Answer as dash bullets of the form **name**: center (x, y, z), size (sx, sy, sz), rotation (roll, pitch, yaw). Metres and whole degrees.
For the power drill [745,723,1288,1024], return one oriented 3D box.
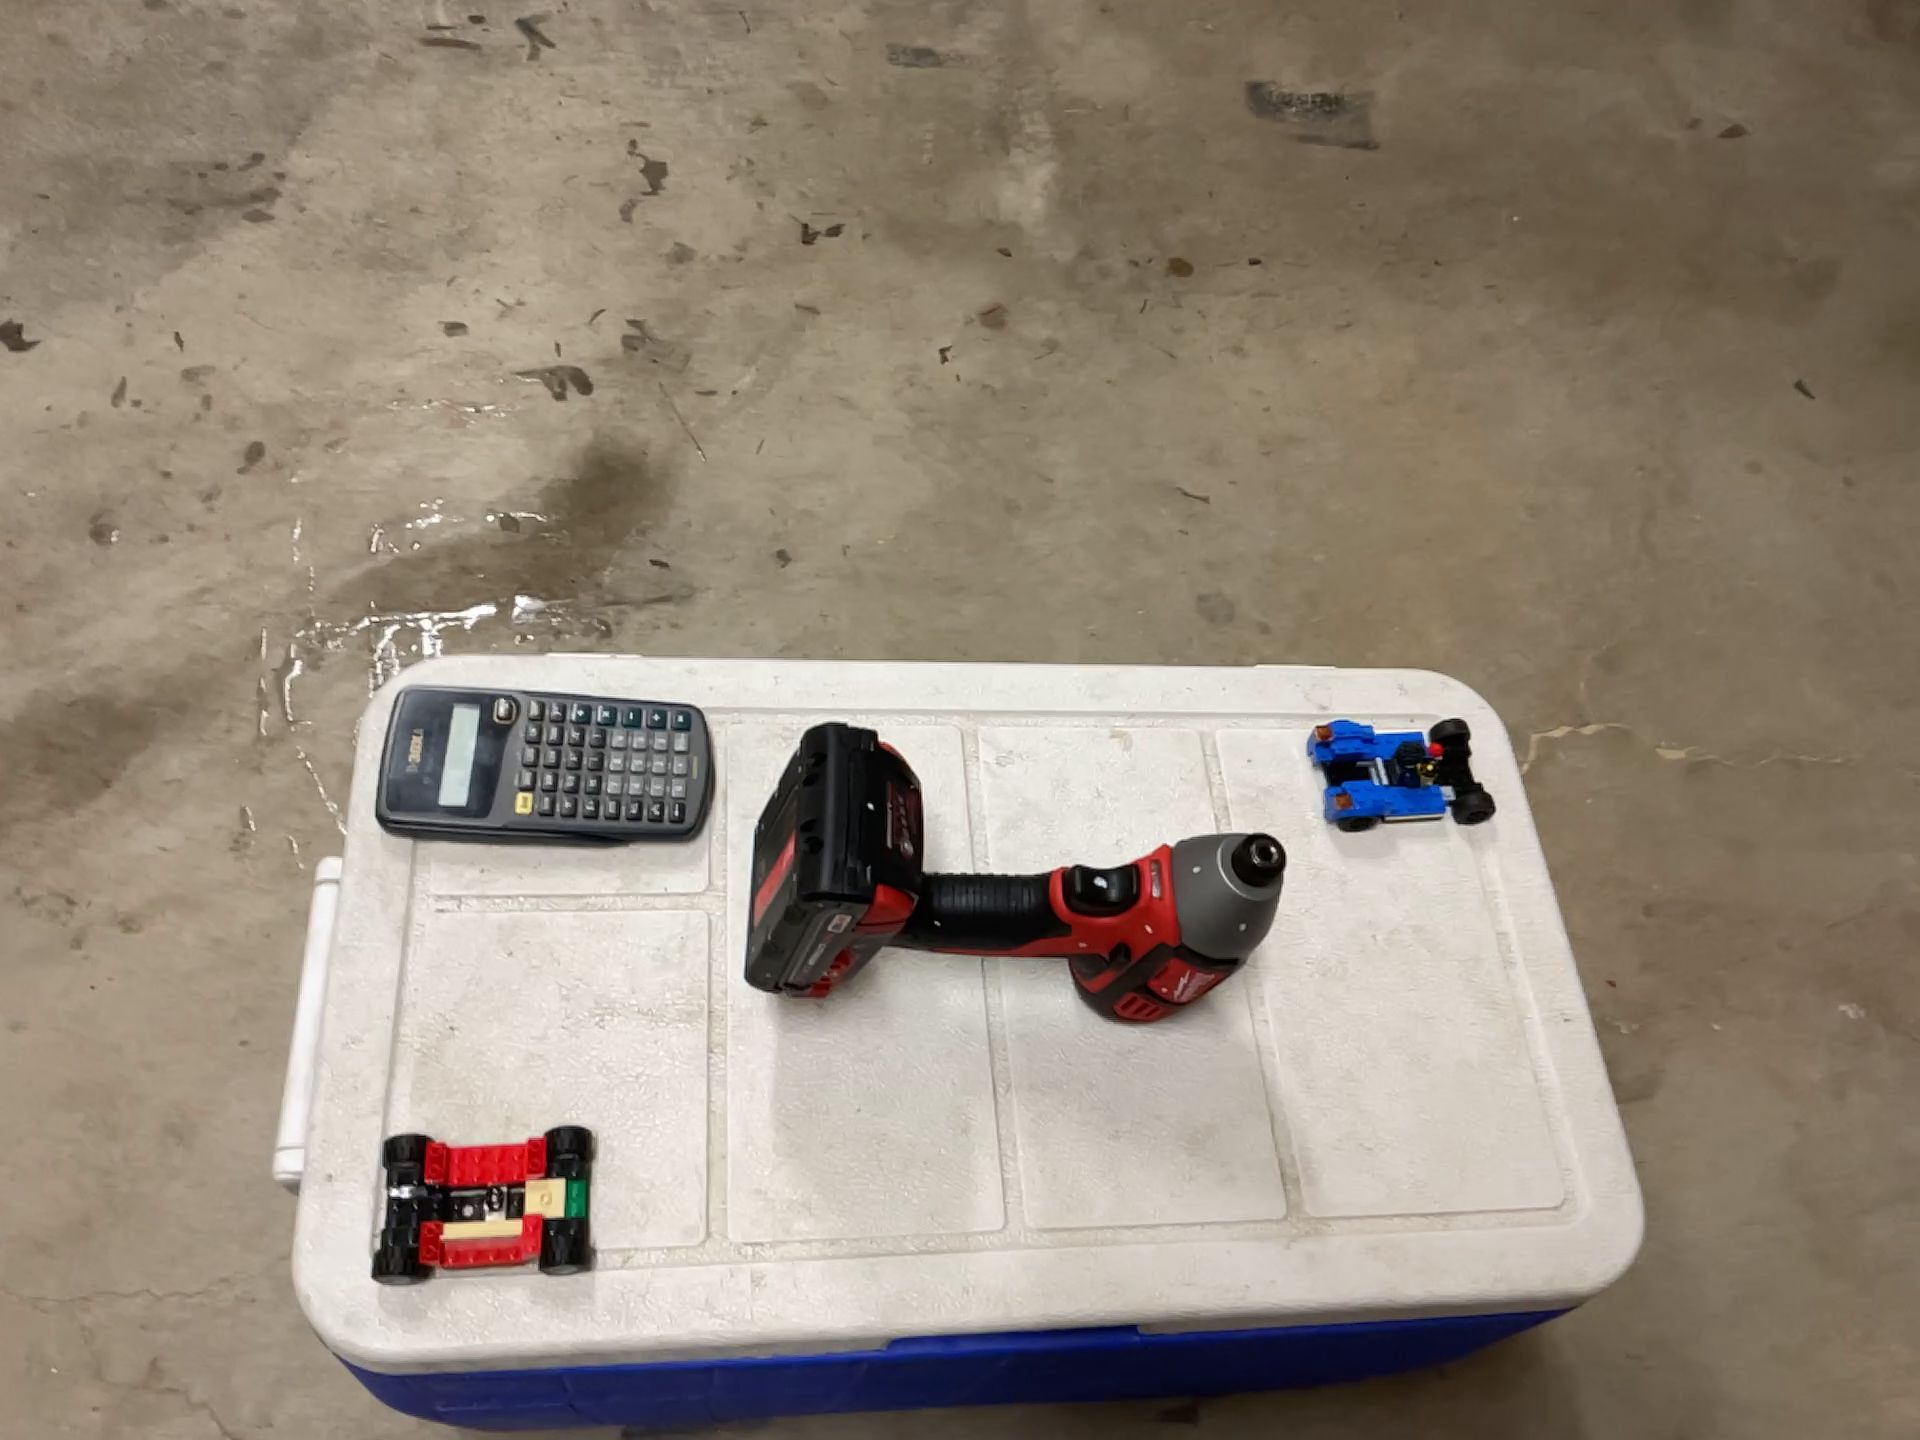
- **power drill**: center (0.028, 0.074, 0.692), size (0.219, 0.143, 0.079), rotation (11, 57, -18)
